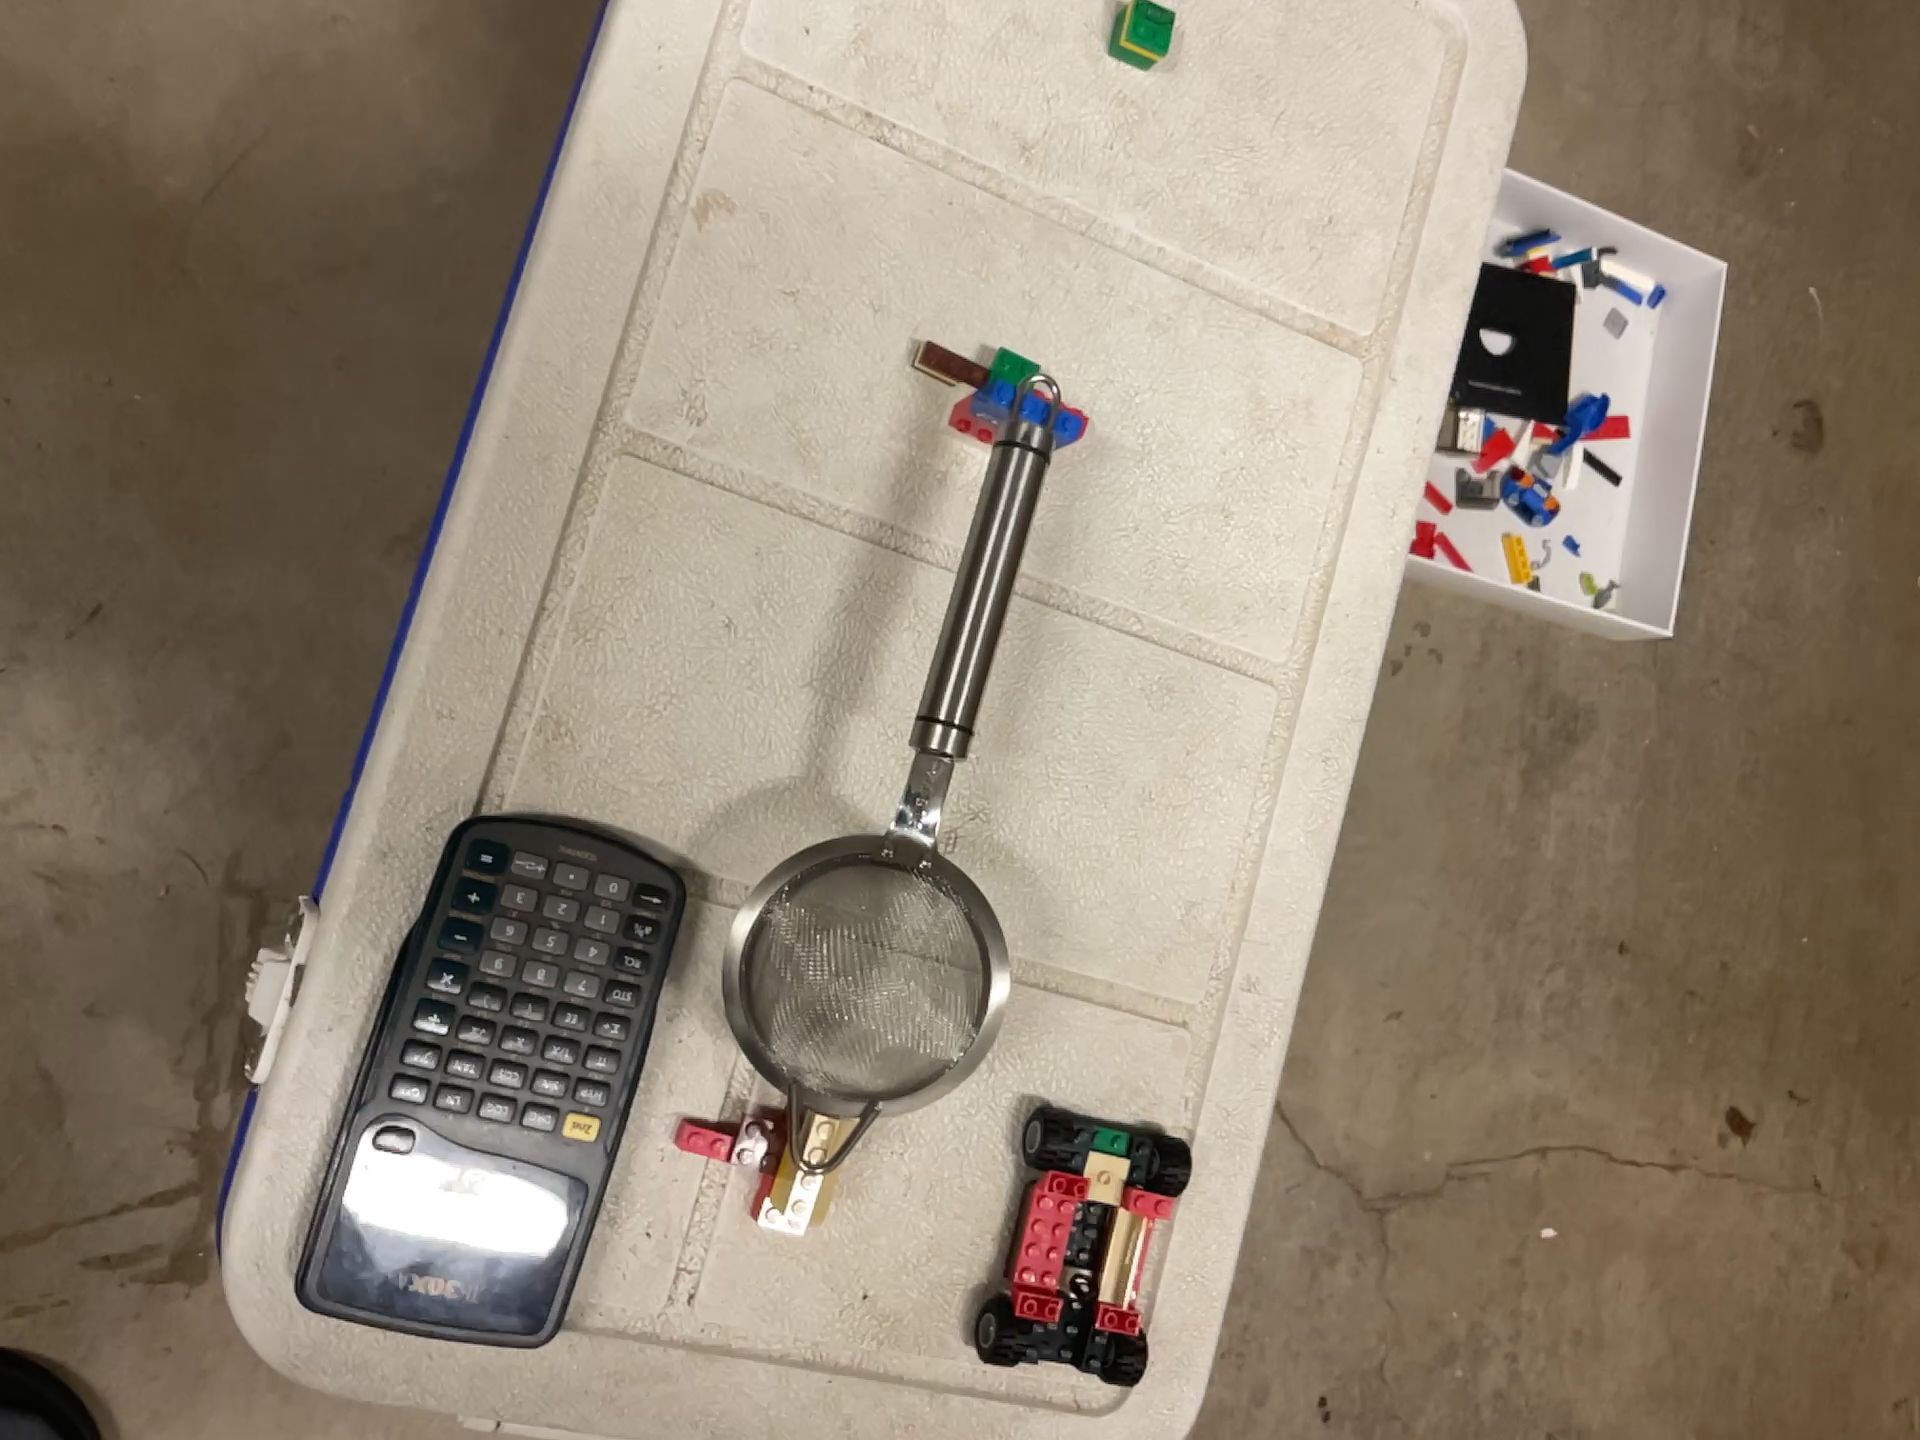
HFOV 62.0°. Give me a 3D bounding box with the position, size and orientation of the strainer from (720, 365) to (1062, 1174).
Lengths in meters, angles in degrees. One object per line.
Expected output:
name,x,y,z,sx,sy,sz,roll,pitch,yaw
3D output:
strainer,-0.009,0.011,0.481,0.087,0.050,0.258,16,81,-4
